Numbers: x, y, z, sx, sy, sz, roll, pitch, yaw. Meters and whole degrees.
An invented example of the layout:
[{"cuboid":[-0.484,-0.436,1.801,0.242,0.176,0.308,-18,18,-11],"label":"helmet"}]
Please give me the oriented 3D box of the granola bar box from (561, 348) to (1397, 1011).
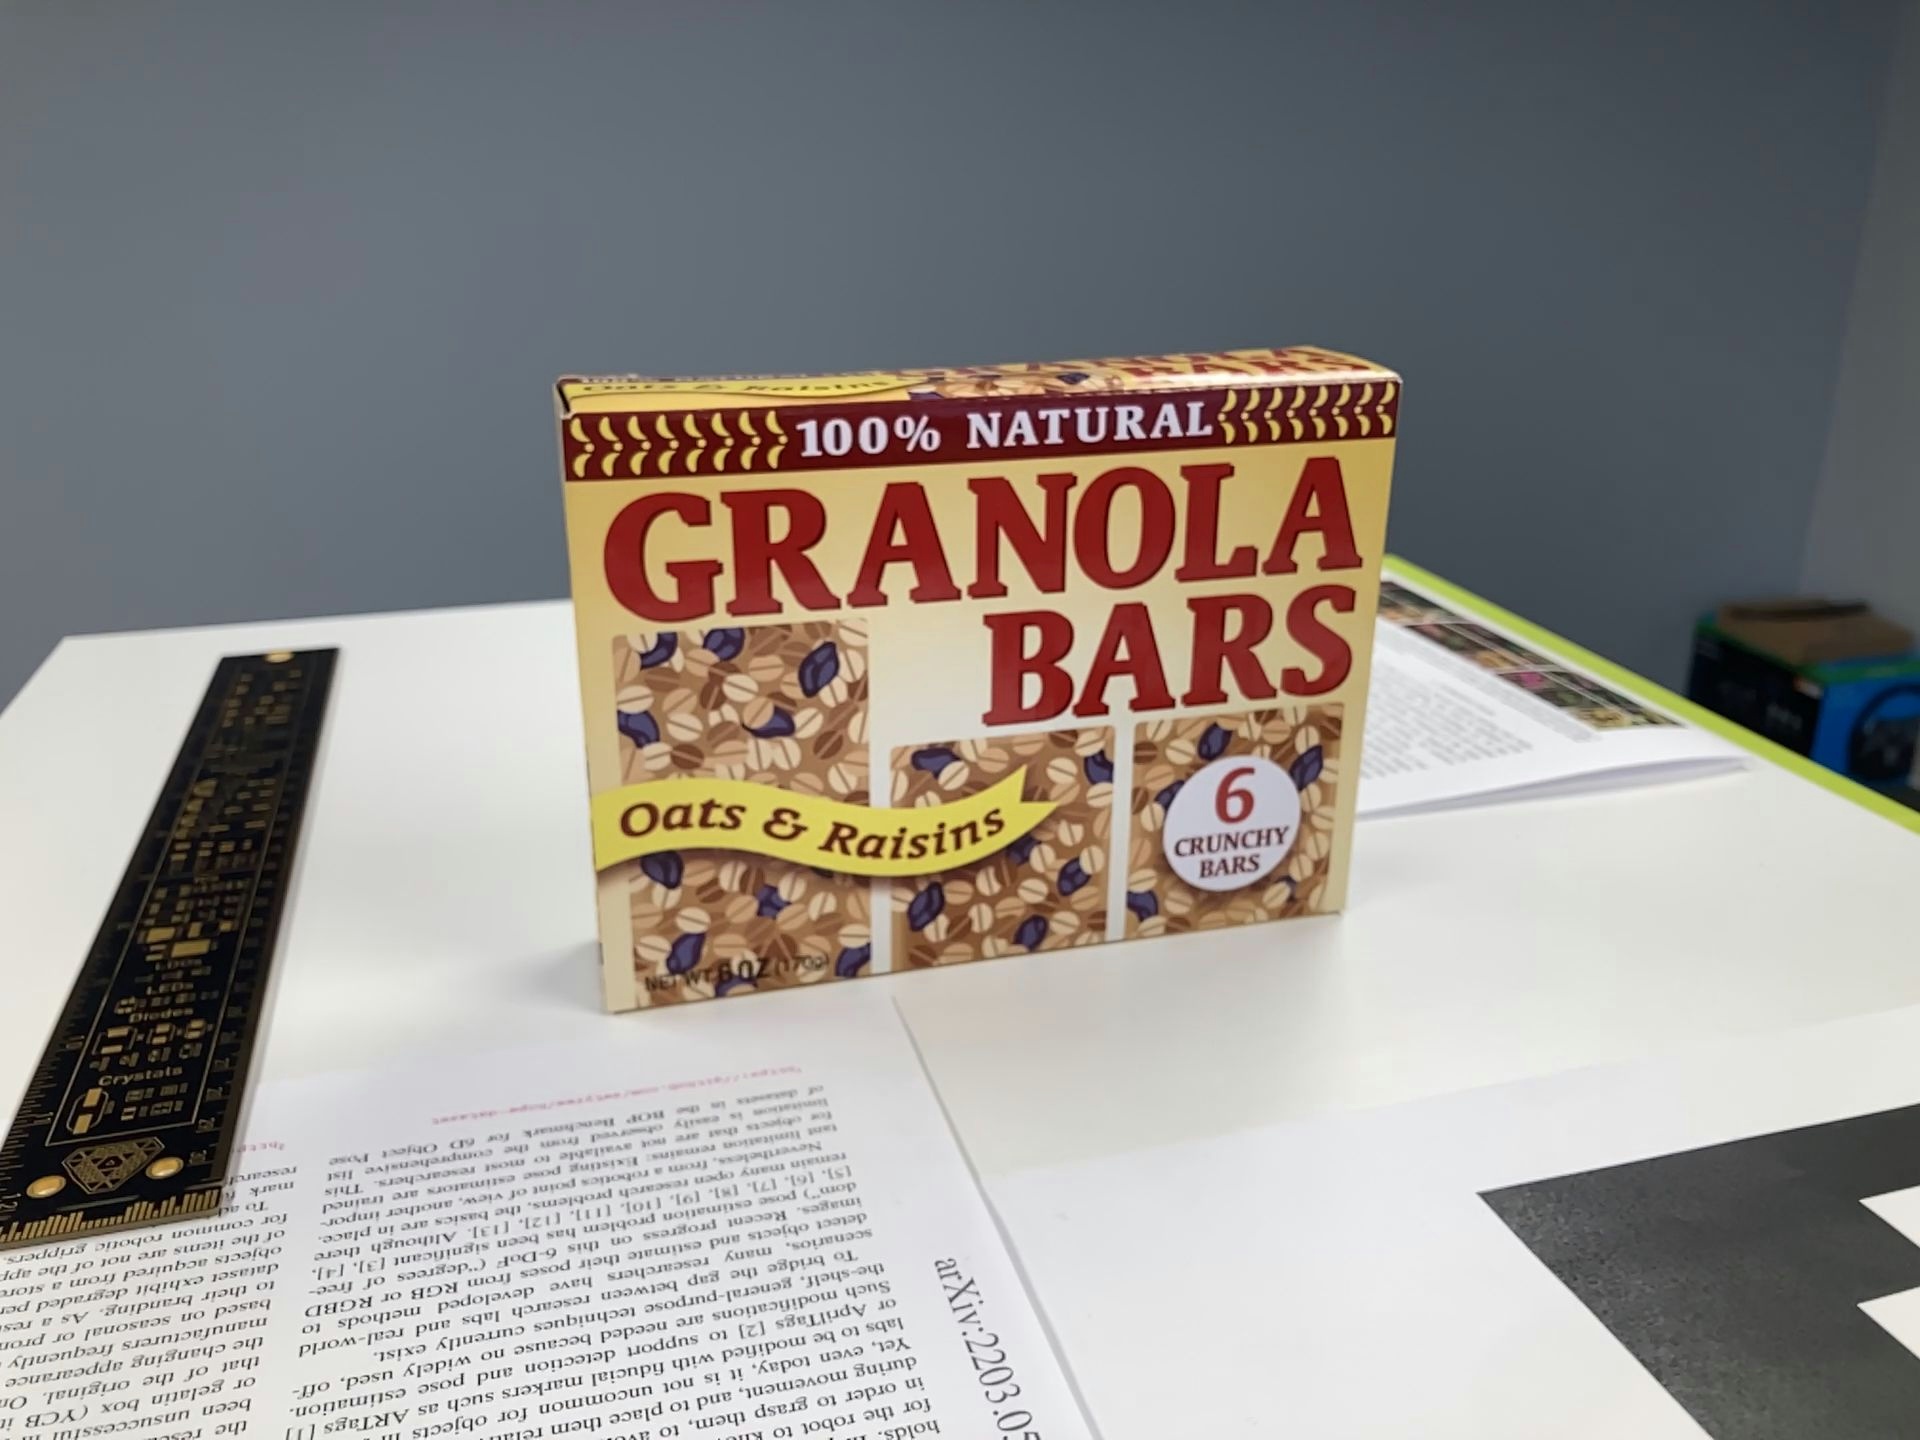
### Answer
[{"cuboid":[0.004,-0.012,0.342,0.165,0.124,0.039,-6,22,-15],"label":"granola bar box"}]
